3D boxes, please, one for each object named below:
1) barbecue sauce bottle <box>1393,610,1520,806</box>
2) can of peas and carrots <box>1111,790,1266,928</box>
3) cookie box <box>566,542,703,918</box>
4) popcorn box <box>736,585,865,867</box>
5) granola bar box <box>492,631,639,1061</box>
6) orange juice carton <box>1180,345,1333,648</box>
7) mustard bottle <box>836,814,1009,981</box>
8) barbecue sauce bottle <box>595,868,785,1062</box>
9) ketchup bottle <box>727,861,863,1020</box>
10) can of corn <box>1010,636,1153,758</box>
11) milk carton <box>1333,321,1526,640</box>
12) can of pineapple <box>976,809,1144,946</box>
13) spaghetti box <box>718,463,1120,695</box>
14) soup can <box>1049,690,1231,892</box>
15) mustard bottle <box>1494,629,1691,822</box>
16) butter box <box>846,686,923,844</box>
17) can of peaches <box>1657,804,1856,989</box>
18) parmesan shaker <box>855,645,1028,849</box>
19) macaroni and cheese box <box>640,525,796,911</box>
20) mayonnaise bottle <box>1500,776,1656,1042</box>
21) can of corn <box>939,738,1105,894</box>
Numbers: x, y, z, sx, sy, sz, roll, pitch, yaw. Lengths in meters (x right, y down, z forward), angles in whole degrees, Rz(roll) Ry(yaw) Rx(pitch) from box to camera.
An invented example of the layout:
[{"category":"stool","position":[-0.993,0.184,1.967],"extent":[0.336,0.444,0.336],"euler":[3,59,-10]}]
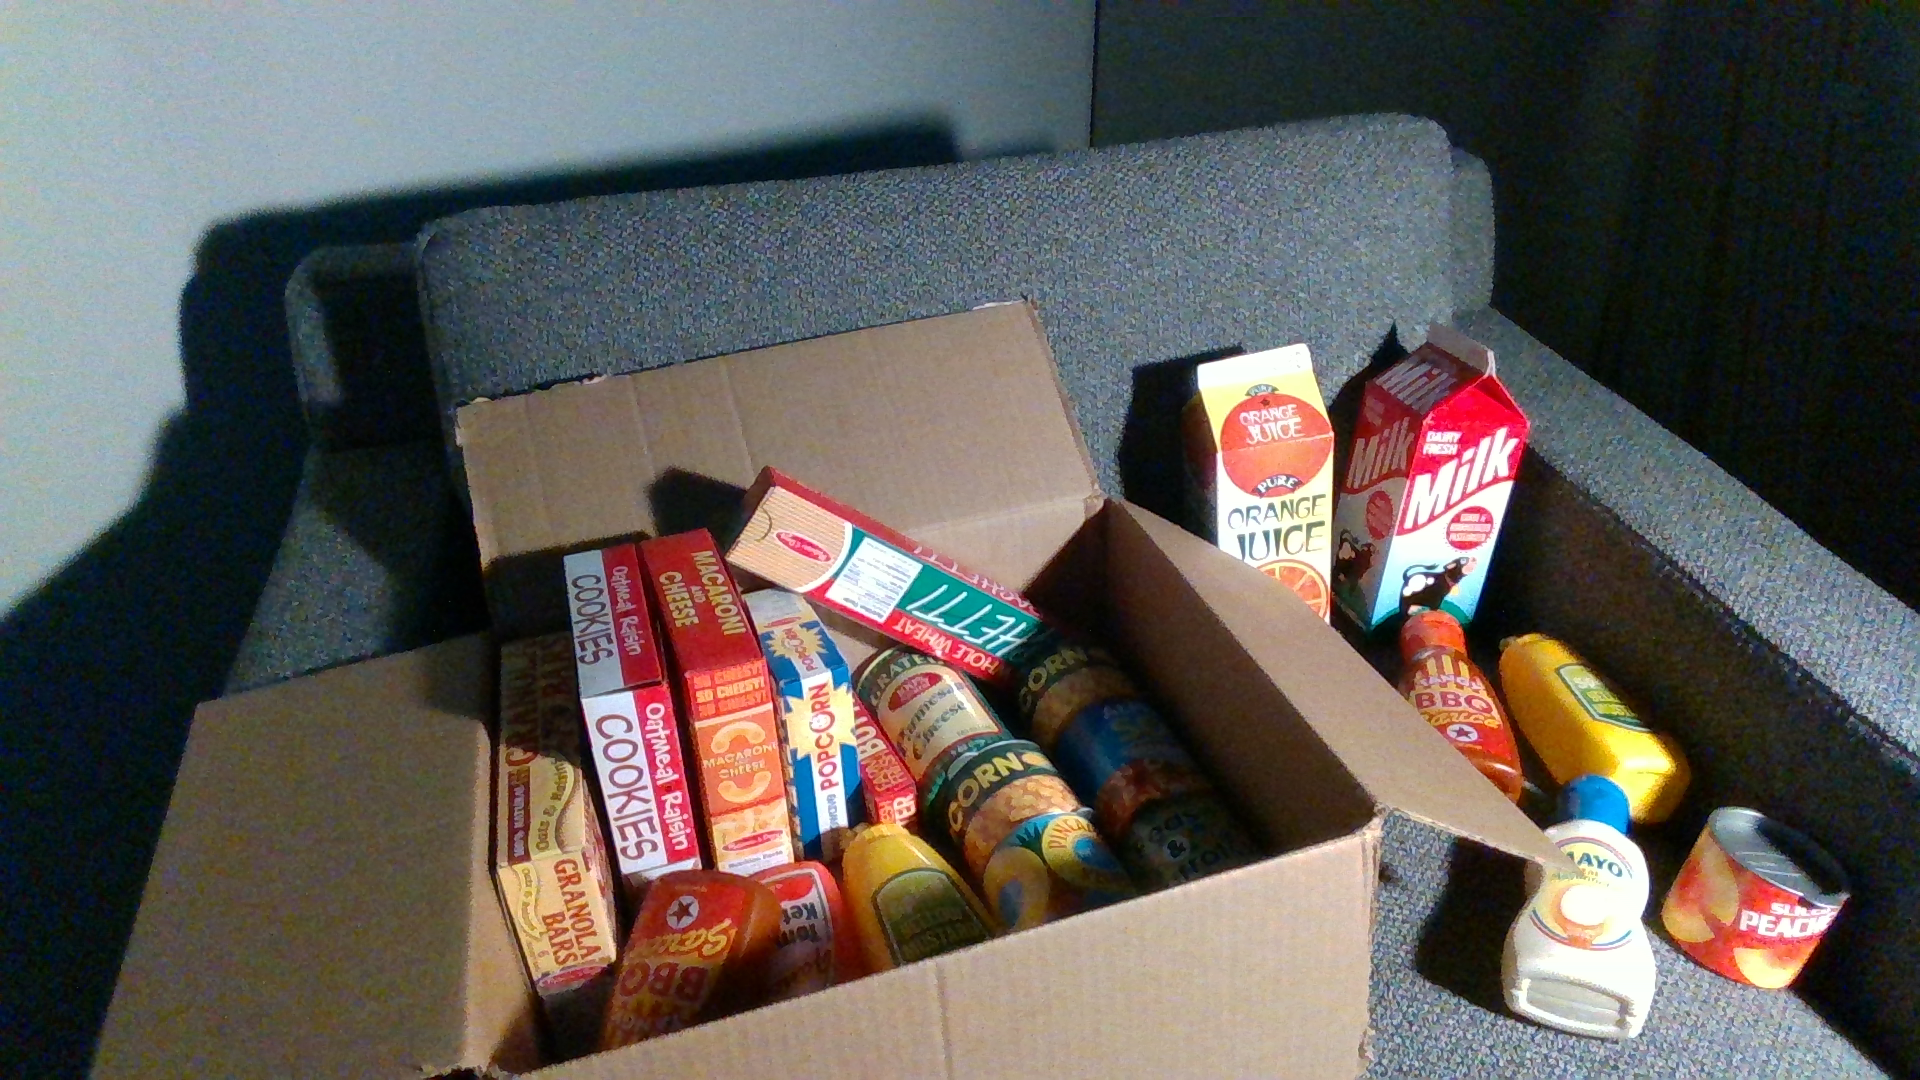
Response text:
[{"category":"barbecue sauce bottle","position":[0.277,0.095,0.796],"extent":[0.065,0.043,0.149],"euler":[5,30,9]},{"category":"can of peas and carrots","position":[0.112,0.161,0.658],"extent":[0.071,0.070,0.059],"euler":[-11,32,-16]},{"category":"cookie box","position":[-0.157,0.103,0.684],"extent":[0.040,0.166,0.123],"euler":[-11,32,-13]},{"category":"popcorn box","position":[-0.085,0.098,0.735],"extent":[0.038,0.126,0.085],"euler":[-15,34,-19]},{"category":"granola bar box","position":[-0.190,0.141,0.667],"extent":[0.039,0.123,0.166],"euler":[-12,32,-10]},{"category":"orange juice carton","position":[0.181,-0.024,0.858],"extent":[0.072,0.191,0.073],"euler":[-9,26,-7]},{"category":"mustard bottle","position":[-0.026,0.180,0.664],"extent":[0.065,0.048,0.161],"euler":[-12,33,-23]},{"category":"barbecue sauce bottle","position":[-0.125,0.215,0.587],"extent":[0.065,0.043,0.149],"euler":[-3,47,24]},{"category":"ketchup bottle","position":[-0.070,0.211,0.616],"extent":[0.065,0.043,0.149],"euler":[-19,34,-7]},{"category":"can of corn","position":[0.067,0.095,0.771],"extent":[0.071,0.070,0.058],"euler":[-10,31,-15]},{"category":"milk carton","position":[0.292,-0.036,0.872],"extent":[0.073,0.189,0.072],"euler":[0,25,-13]},{"category":"can of pineapple","position":[0.049,0.170,0.649],"extent":[0.071,0.070,0.058],"euler":[-13,33,-19]},{"category":"spaghetti box","position":[-0.015,0.035,0.765],"extent":[0.250,0.050,0.029],"euler":[28,16,-30]},{"category":"soup can","position":[0.093,0.126,0.714],"extent":[0.071,0.071,0.084],"euler":[-11,31,-16]},{"category":"mustard bottle","position":[0.351,0.095,0.806],"extent":[0.065,0.048,0.161],"euler":[9,28,-17]},{"category":"butter box","position":[-0.052,0.125,0.752],"extent":[0.024,0.052,0.104],"euler":[-18,34,-19]},{"category":"can of peaches","position":[0.377,0.171,0.659],"extent":[0.071,0.057,0.071],"euler":[12,26,-6]},{"category":"parmesan shaker","position":[-0.006,0.108,0.754],"extent":[0.071,0.071,0.103],"euler":[-14,32,-20]},{"category":"macaroni and cheese box","position":[-0.119,0.094,0.696],"extent":[0.040,0.165,0.124],"euler":[-13,33,-16]},{"category":"mayonnaise bottle","position":[0.301,0.172,0.670],"extent":[0.065,0.041,0.149],"euler":[7,31,24]},{"category":"can of corn","position":[0.029,0.141,0.692],"extent":[0.071,0.070,0.058],"euler":[-13,33,-20]}]
